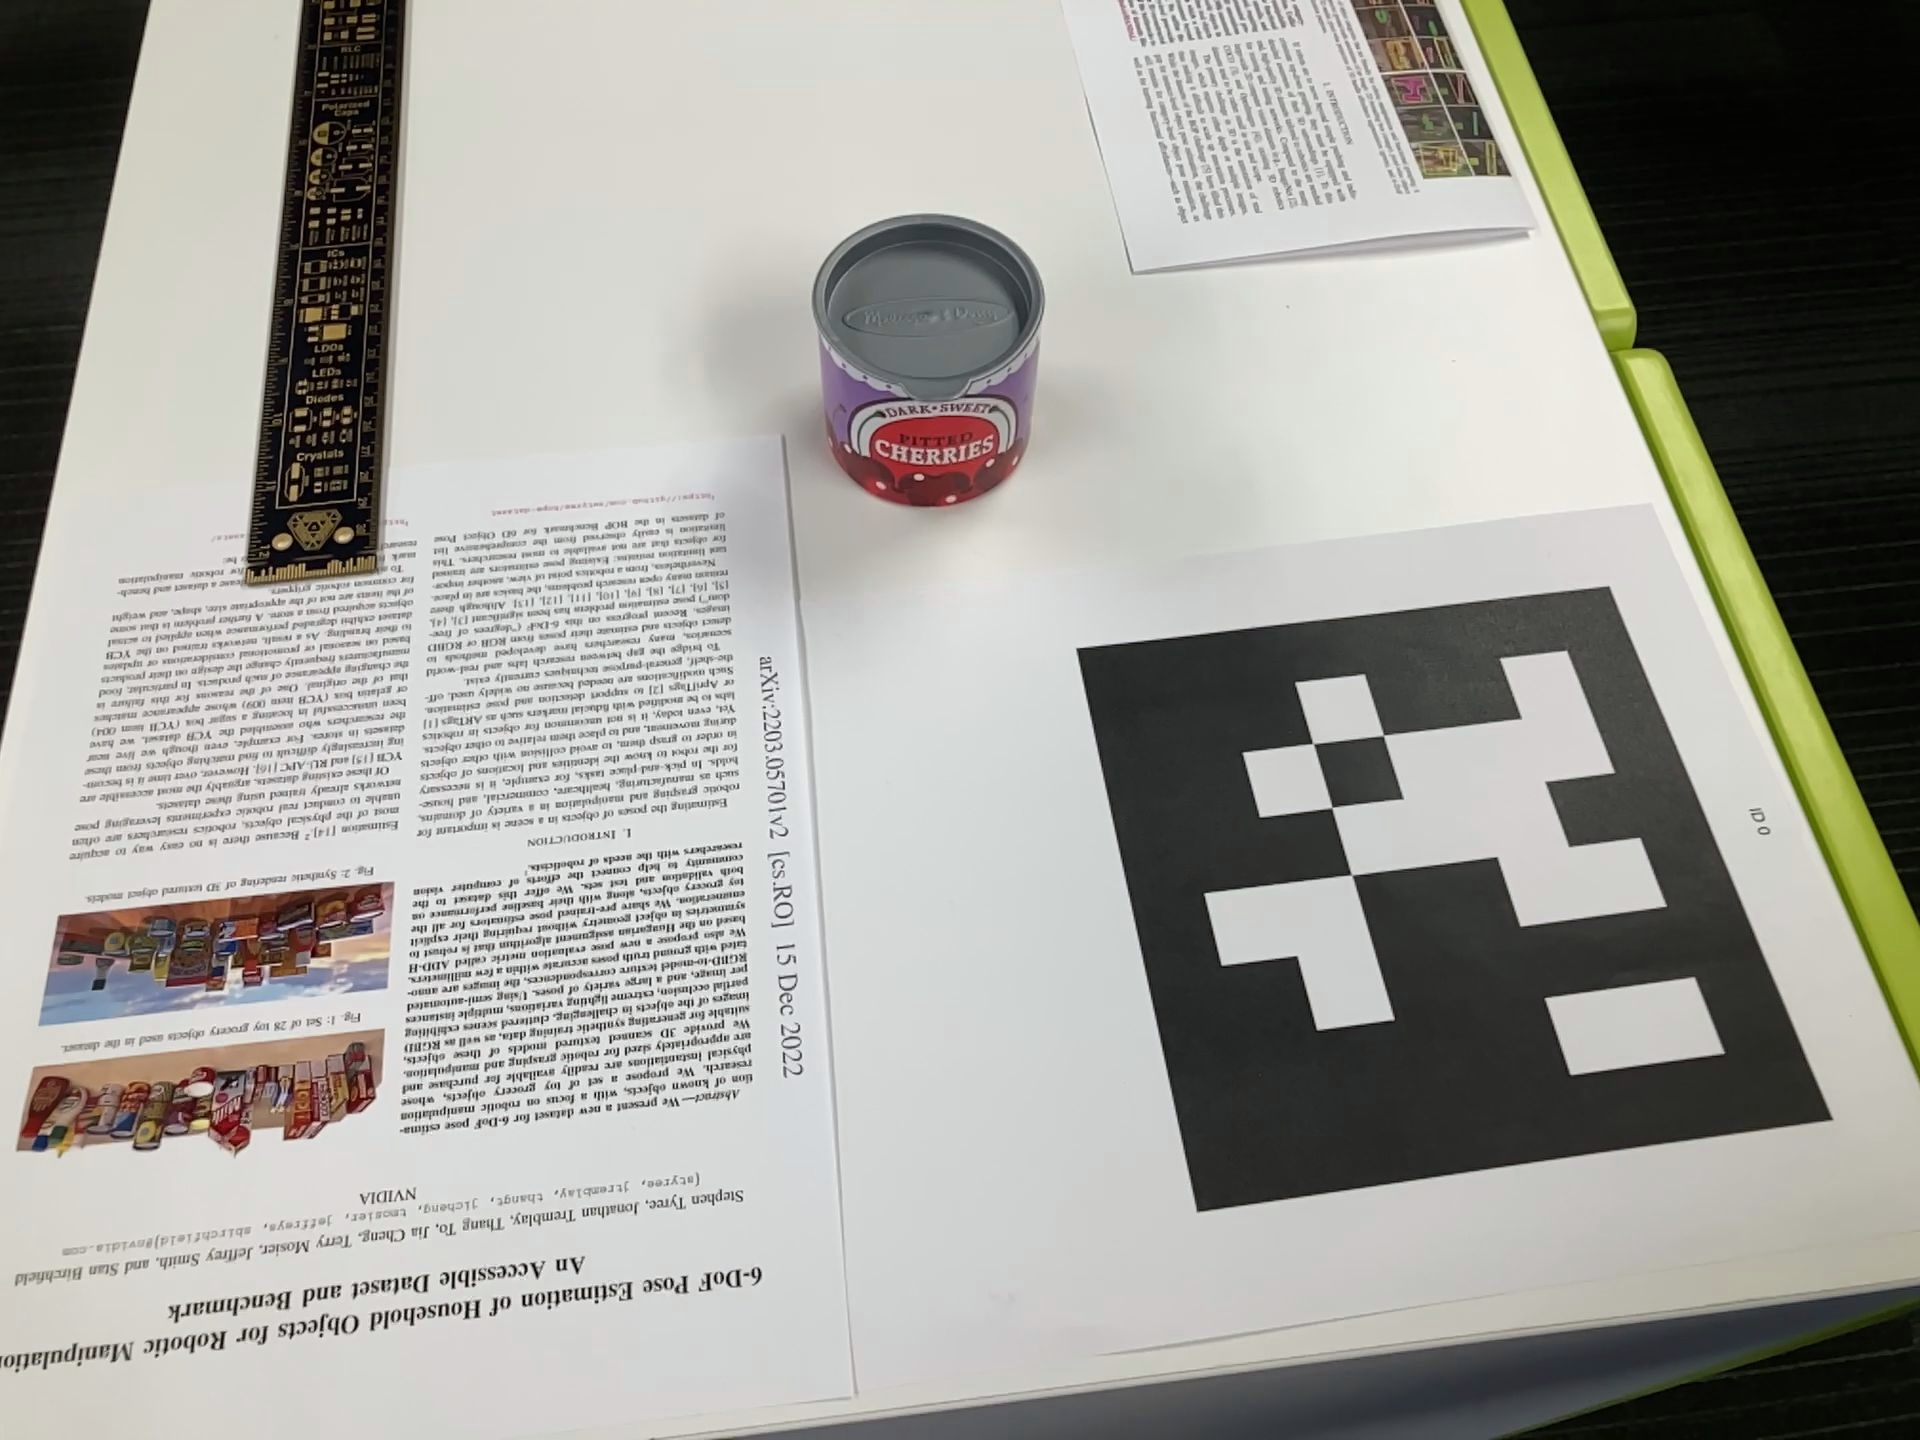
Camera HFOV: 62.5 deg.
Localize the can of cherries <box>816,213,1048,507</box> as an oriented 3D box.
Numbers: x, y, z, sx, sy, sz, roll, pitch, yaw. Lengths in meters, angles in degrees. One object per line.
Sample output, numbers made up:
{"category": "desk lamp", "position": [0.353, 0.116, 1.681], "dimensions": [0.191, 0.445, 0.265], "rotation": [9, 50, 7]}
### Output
{"category": "can of cherries", "position": [-0.008, -0.105, 0.476], "dimensions": [0.071, 0.058, 0.071], "rotation": [0, 61, -1]}
